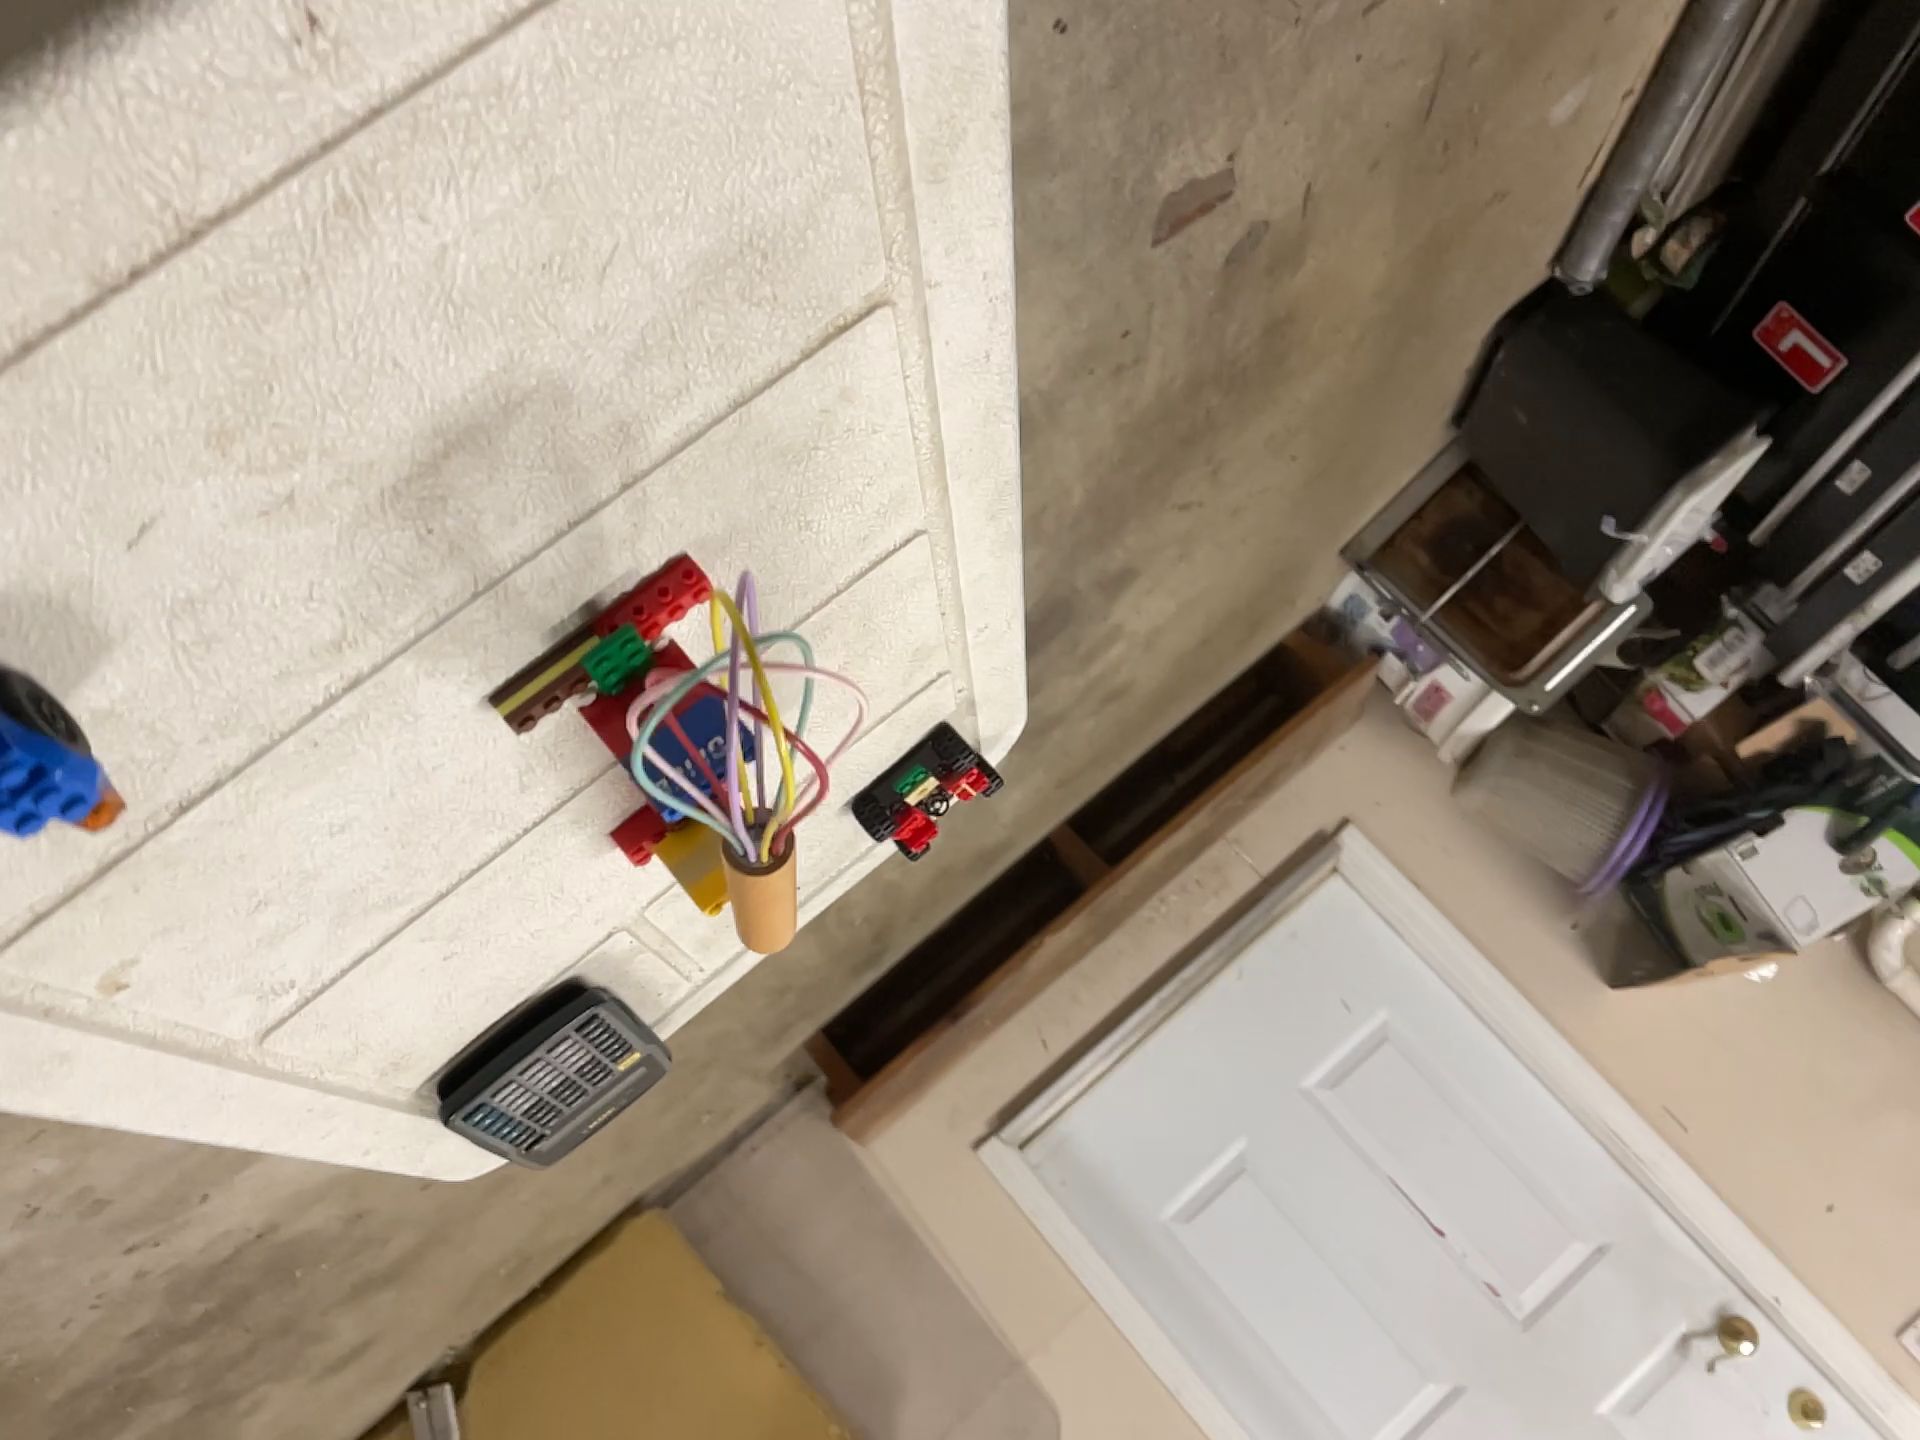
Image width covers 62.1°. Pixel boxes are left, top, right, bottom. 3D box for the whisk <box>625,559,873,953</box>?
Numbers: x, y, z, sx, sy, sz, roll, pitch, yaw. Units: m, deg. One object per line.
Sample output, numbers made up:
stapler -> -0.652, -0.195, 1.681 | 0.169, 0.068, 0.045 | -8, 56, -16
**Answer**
whisk -> -0.055, 0.029, 0.428 | 0.051, 0.047, 0.245 | -50, 170, -20
